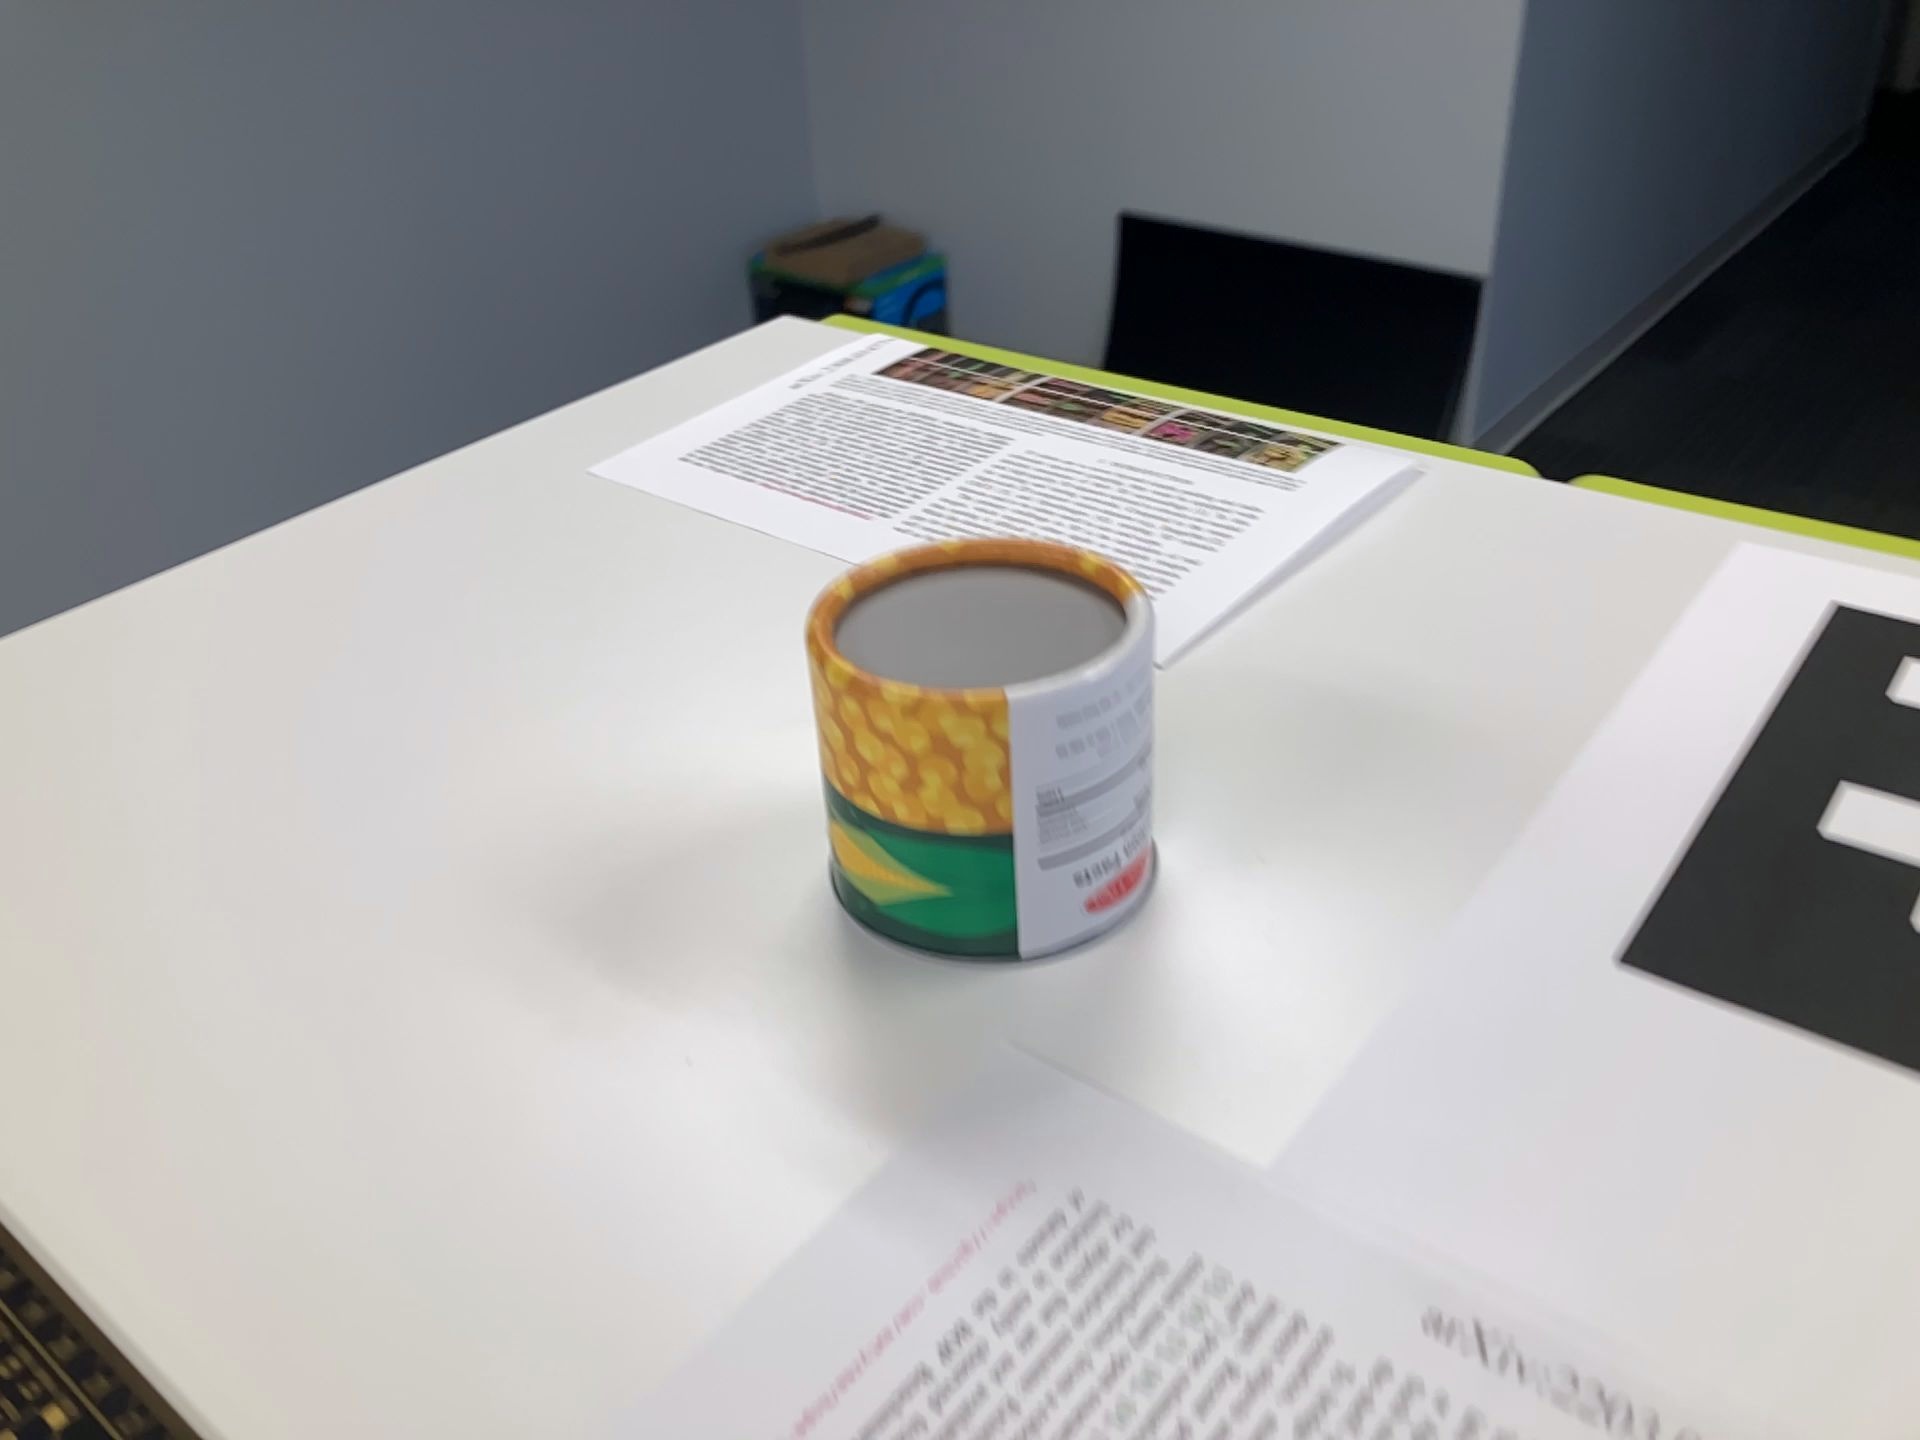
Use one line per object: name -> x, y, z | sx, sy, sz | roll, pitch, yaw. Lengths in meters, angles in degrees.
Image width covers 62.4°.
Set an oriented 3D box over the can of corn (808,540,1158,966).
can of corn -> 0.003, 0.003, 0.311 | 0.071, 0.058, 0.071 | -3, 32, 2
